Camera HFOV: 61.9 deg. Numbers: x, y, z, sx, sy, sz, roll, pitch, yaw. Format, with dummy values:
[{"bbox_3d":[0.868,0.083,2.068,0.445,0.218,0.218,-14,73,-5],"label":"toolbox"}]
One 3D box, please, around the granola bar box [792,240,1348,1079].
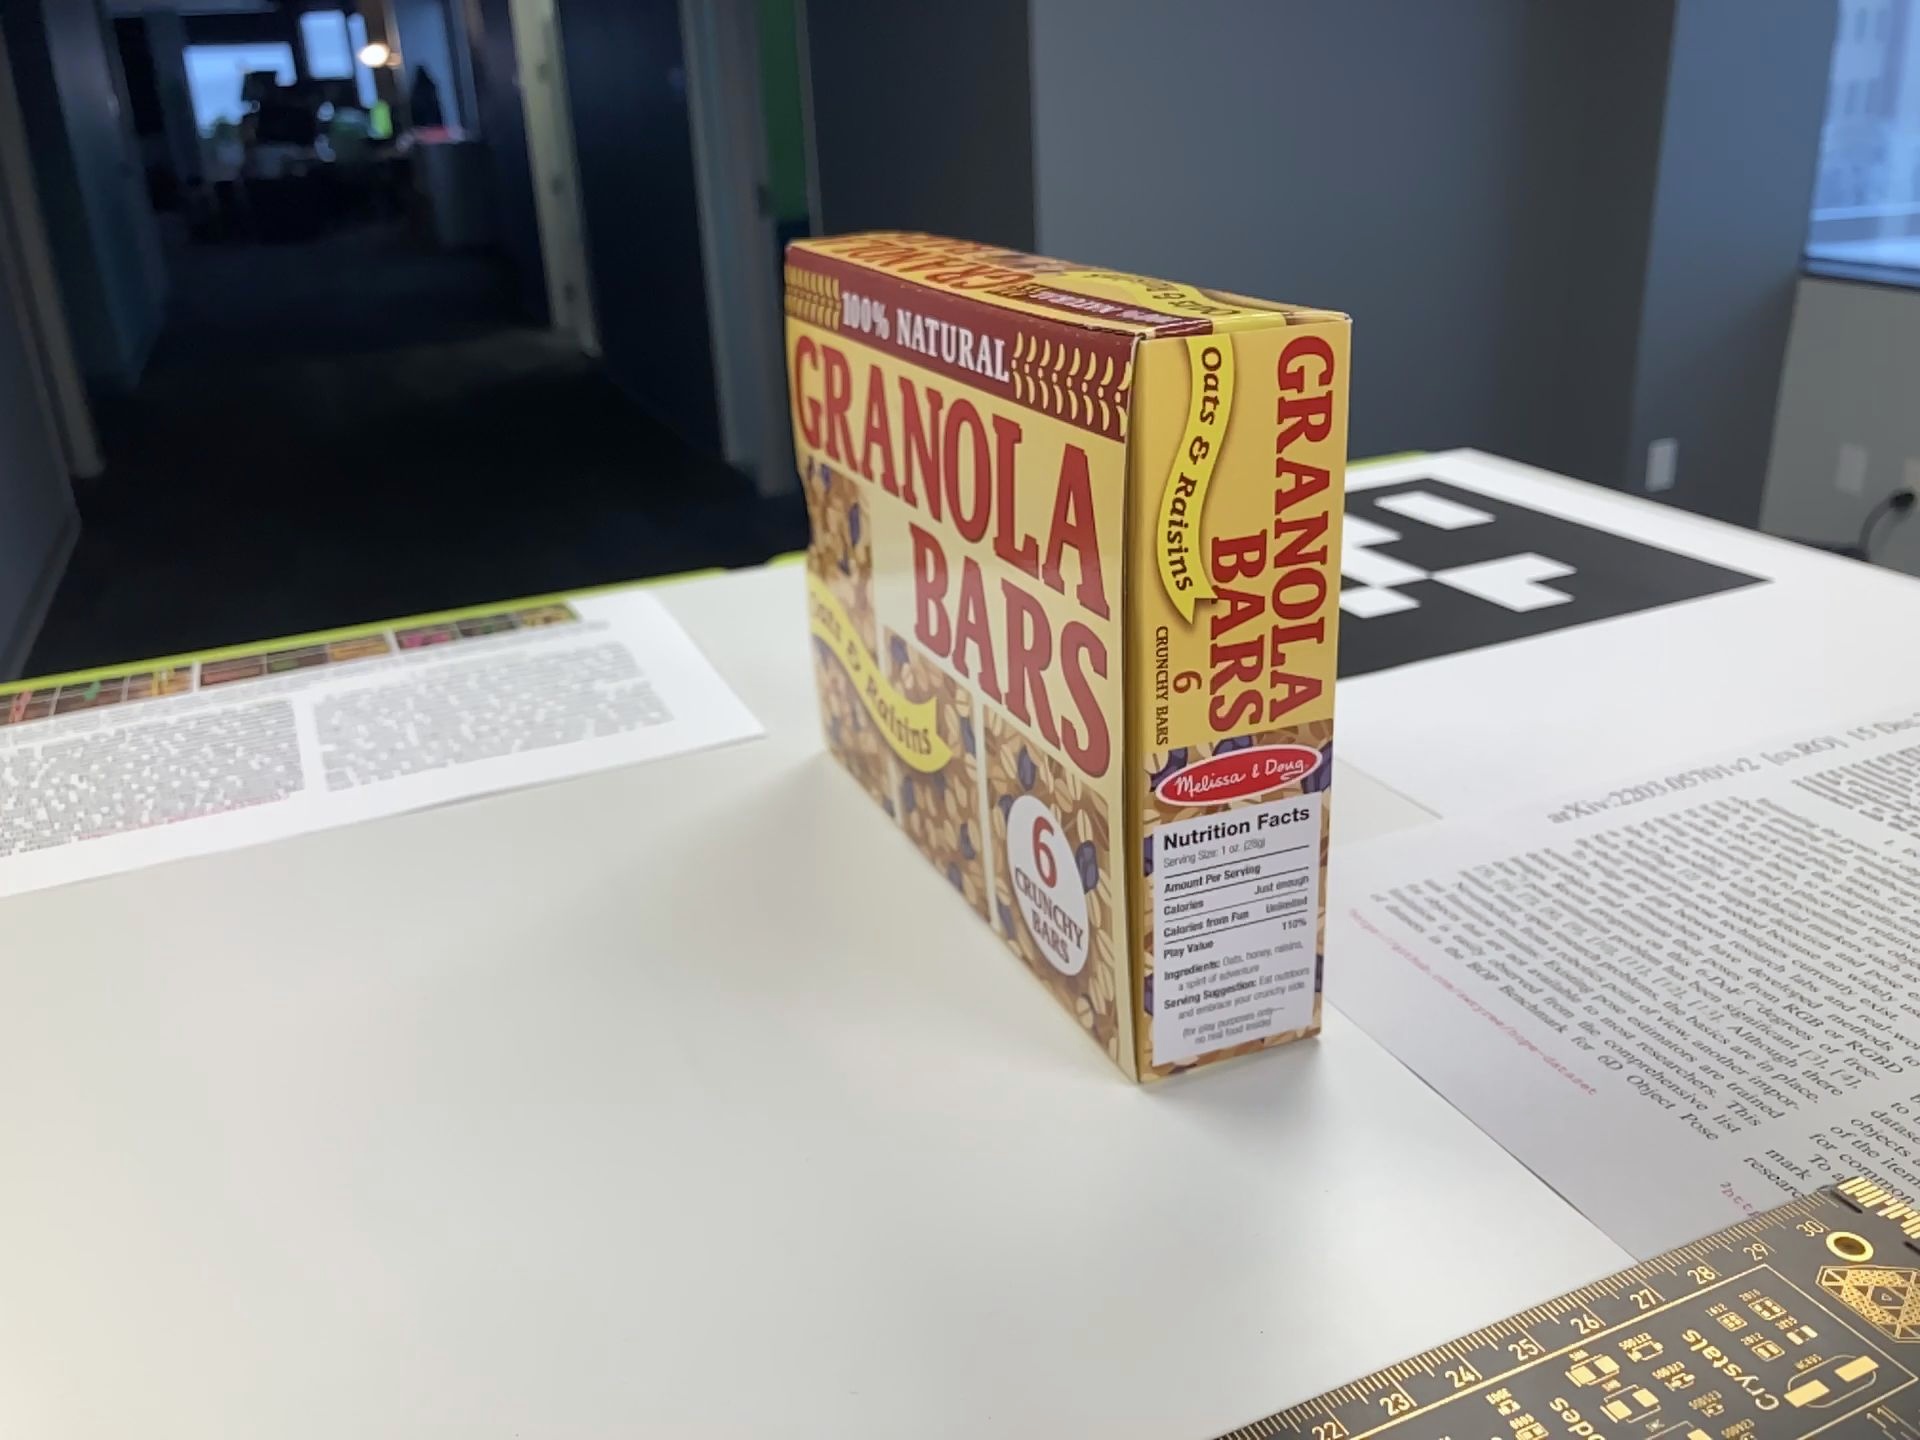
[{"bbox_3d":[0.010,-0.026,0.321,0.039,0.124,0.165,-10,23,-21],"label":"granola bar box"}]
